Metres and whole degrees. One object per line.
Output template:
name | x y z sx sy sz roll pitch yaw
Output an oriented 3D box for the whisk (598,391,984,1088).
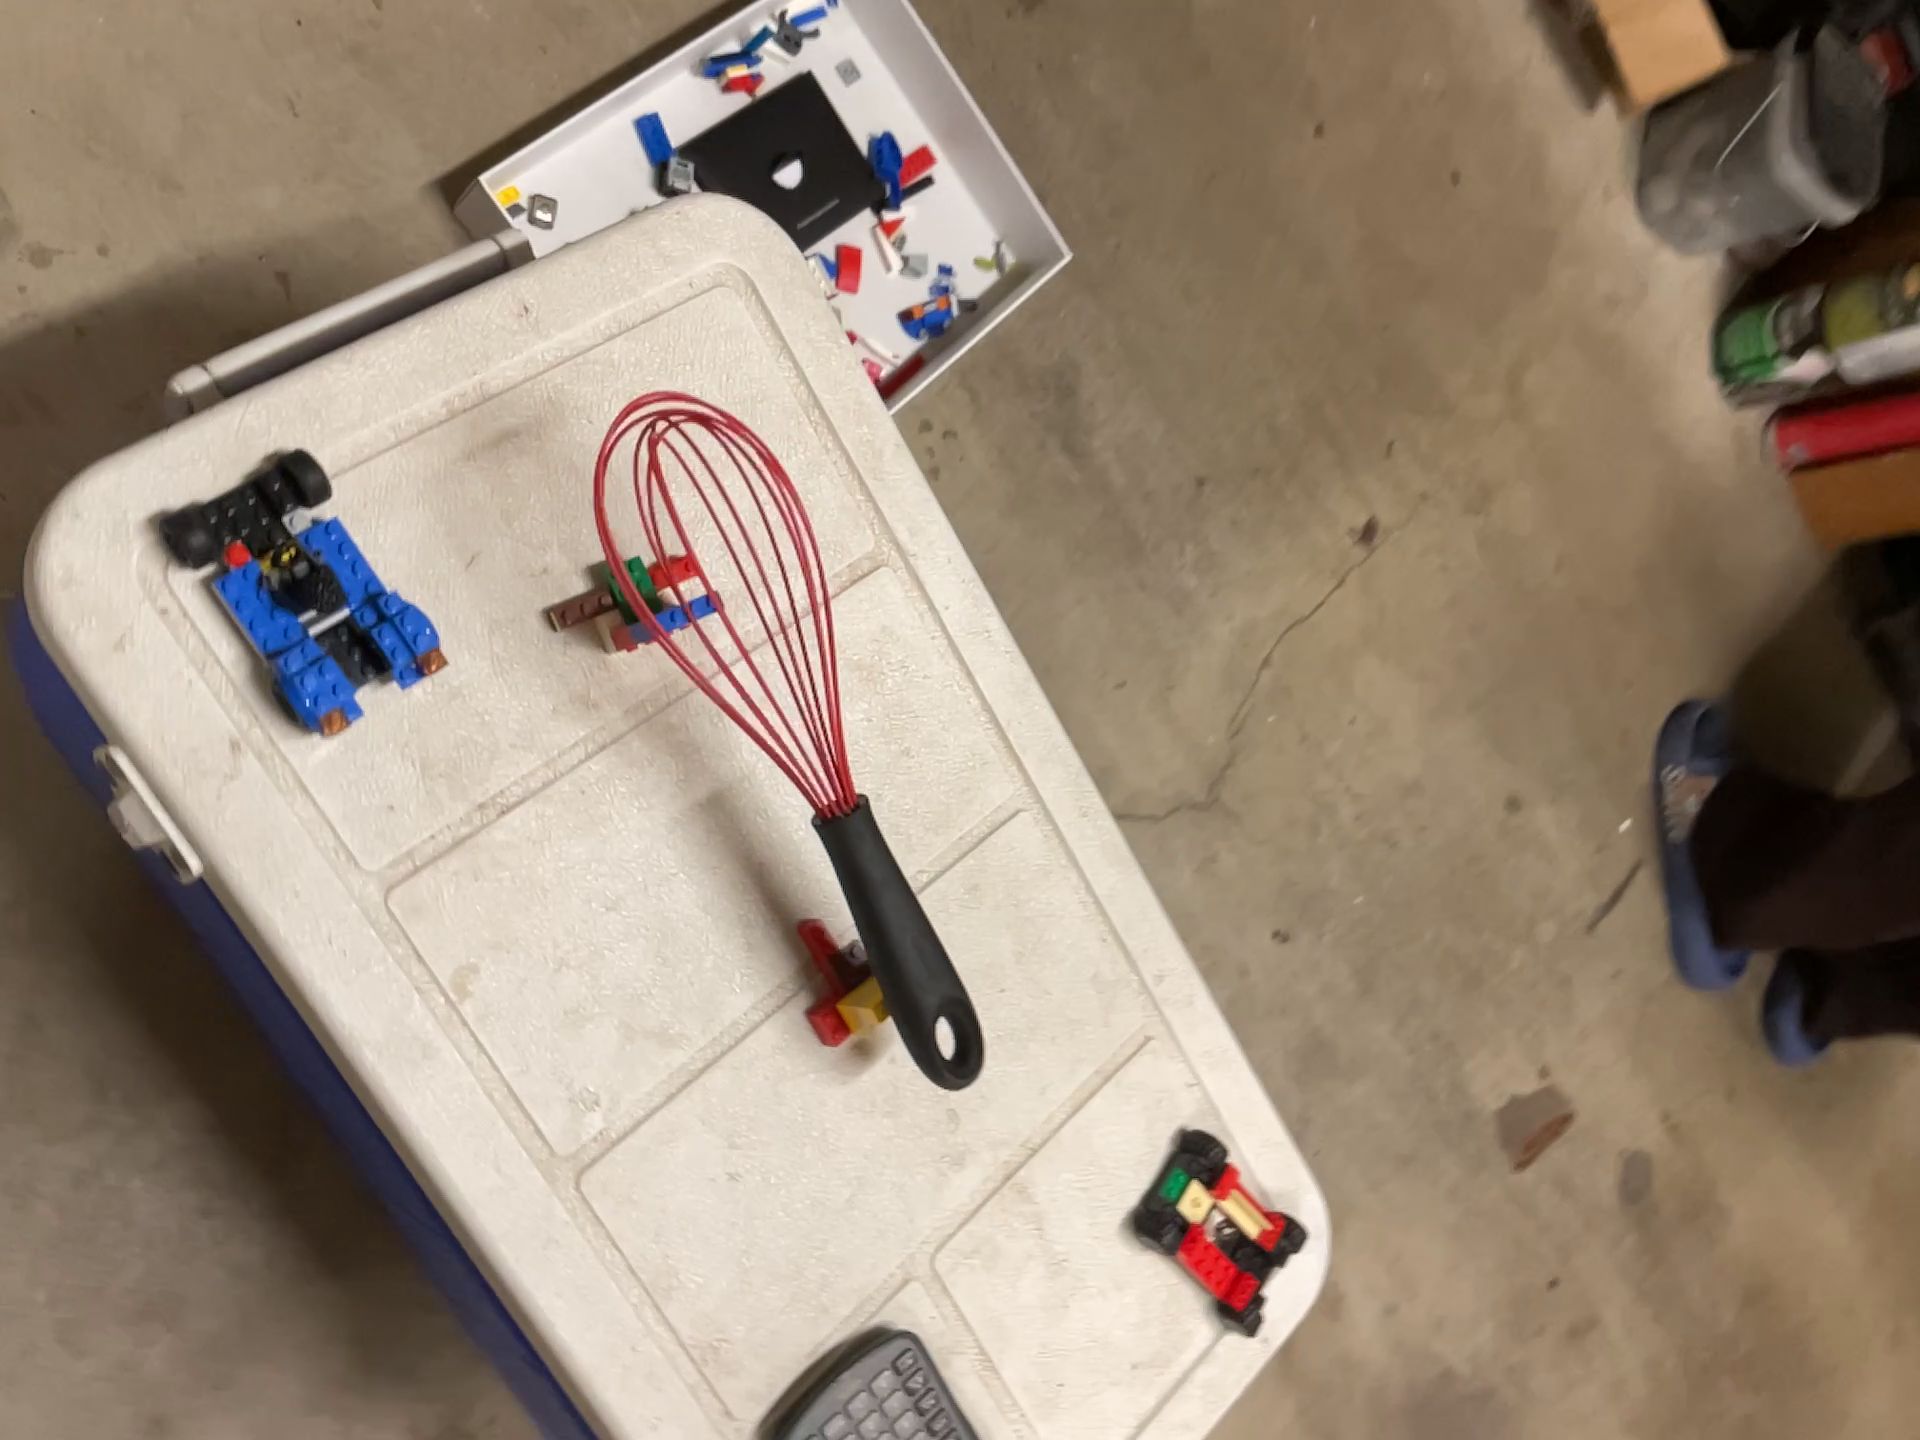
whisk | -0.053 0.017 0.596 0.073 0.073 0.295 -36 113 -34
